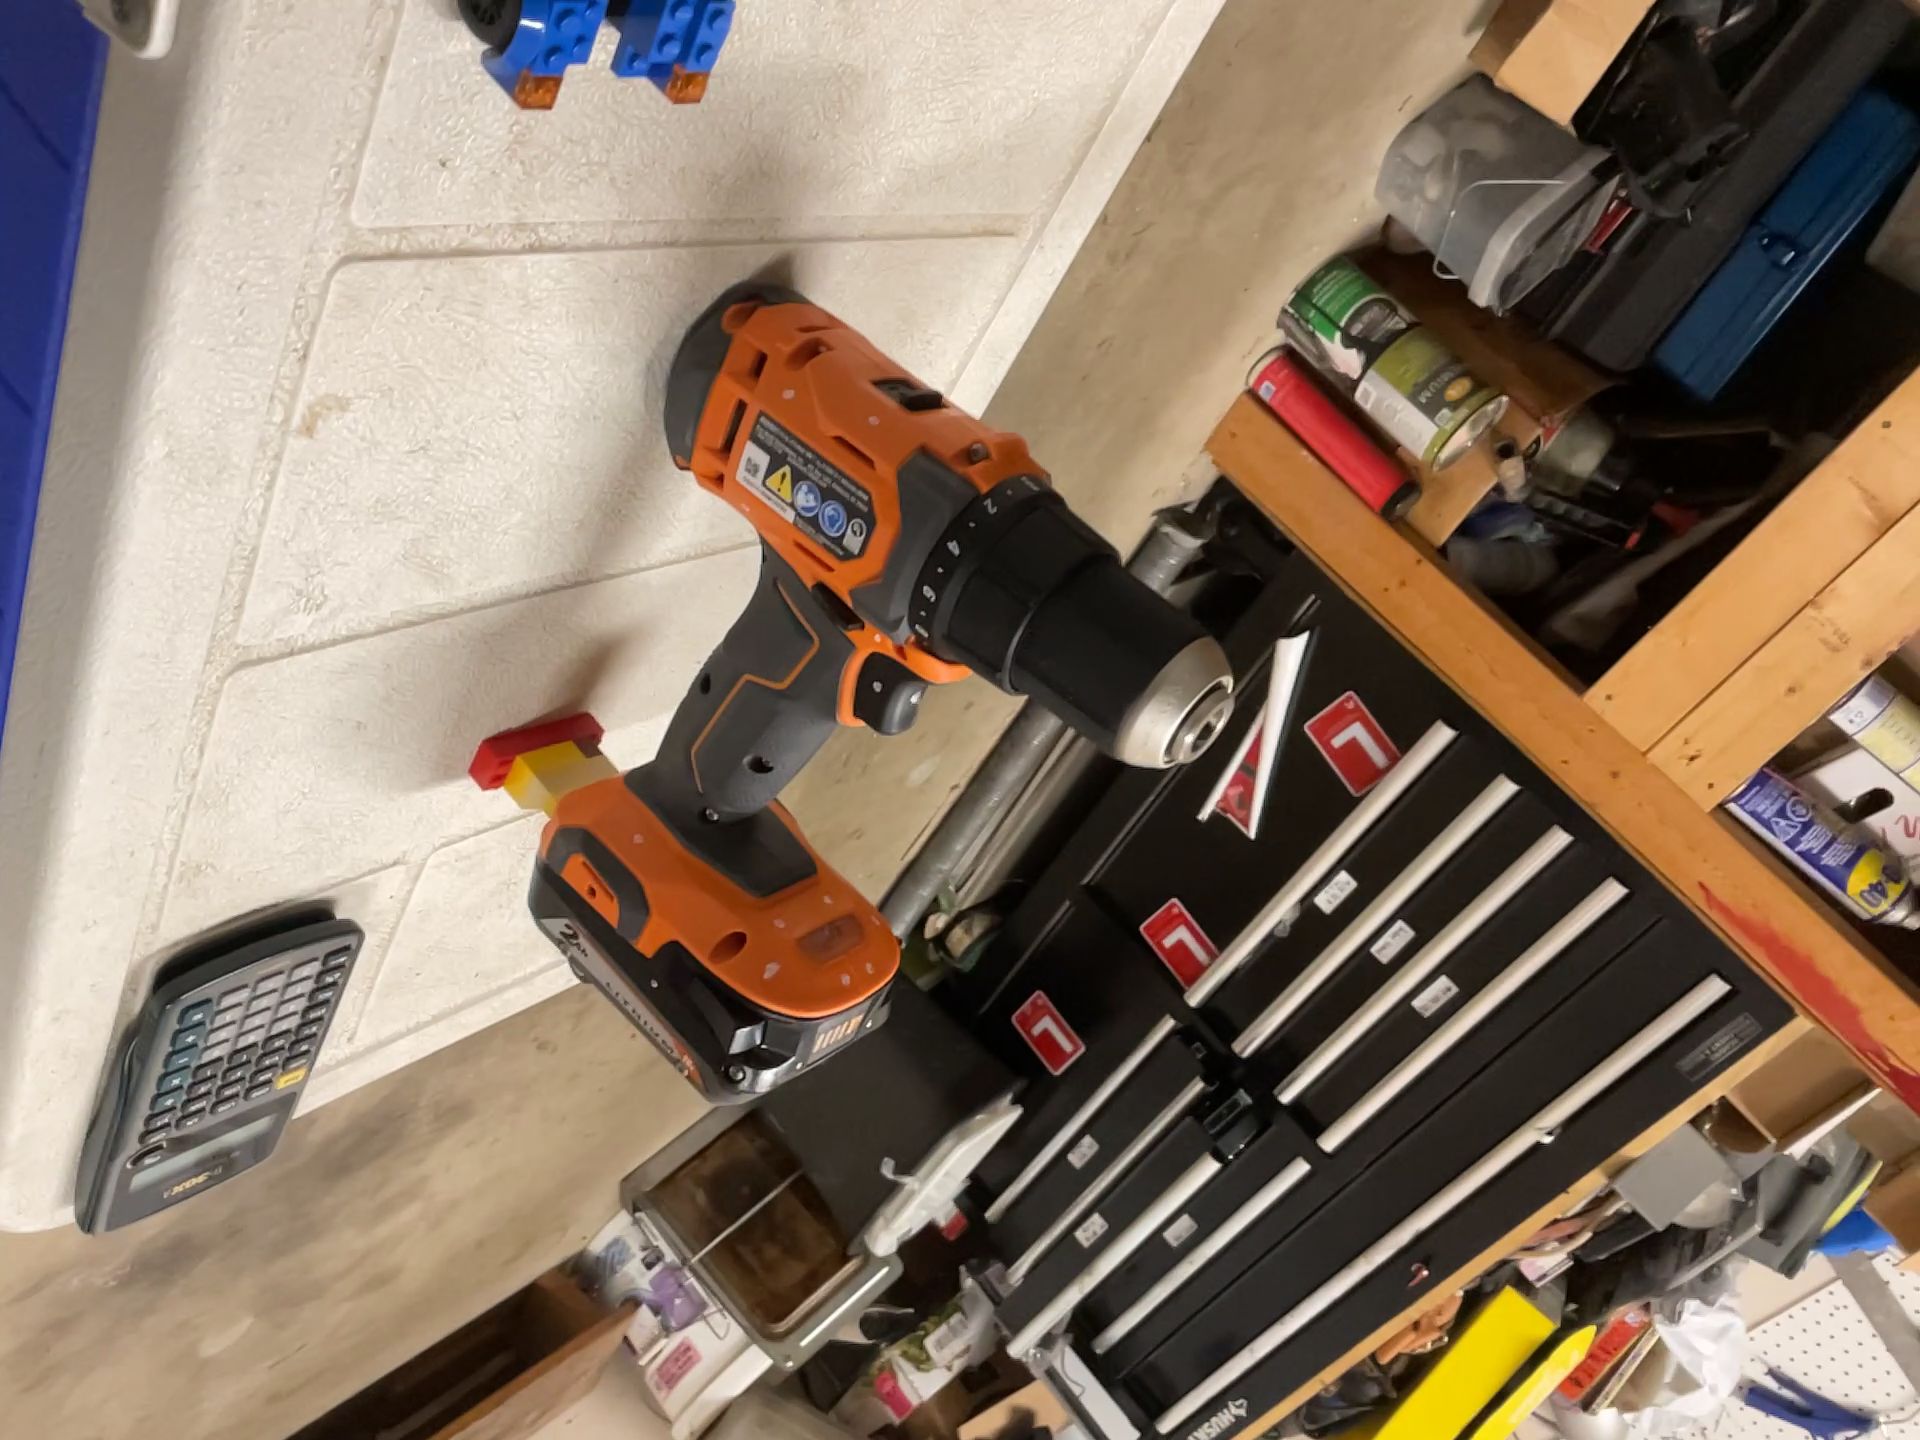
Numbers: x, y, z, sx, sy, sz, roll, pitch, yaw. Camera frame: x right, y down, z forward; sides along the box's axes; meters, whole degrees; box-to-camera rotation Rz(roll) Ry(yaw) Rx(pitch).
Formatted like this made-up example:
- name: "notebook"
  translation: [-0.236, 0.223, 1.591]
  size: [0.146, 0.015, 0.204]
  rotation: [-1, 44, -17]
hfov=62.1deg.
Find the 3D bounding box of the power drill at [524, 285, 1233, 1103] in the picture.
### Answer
- name: "power drill"
  translation: [-0.033, 0.011, 0.481]
  size: [0.084, 0.185, 0.225]
  rotation: [-21, 143, -53]
